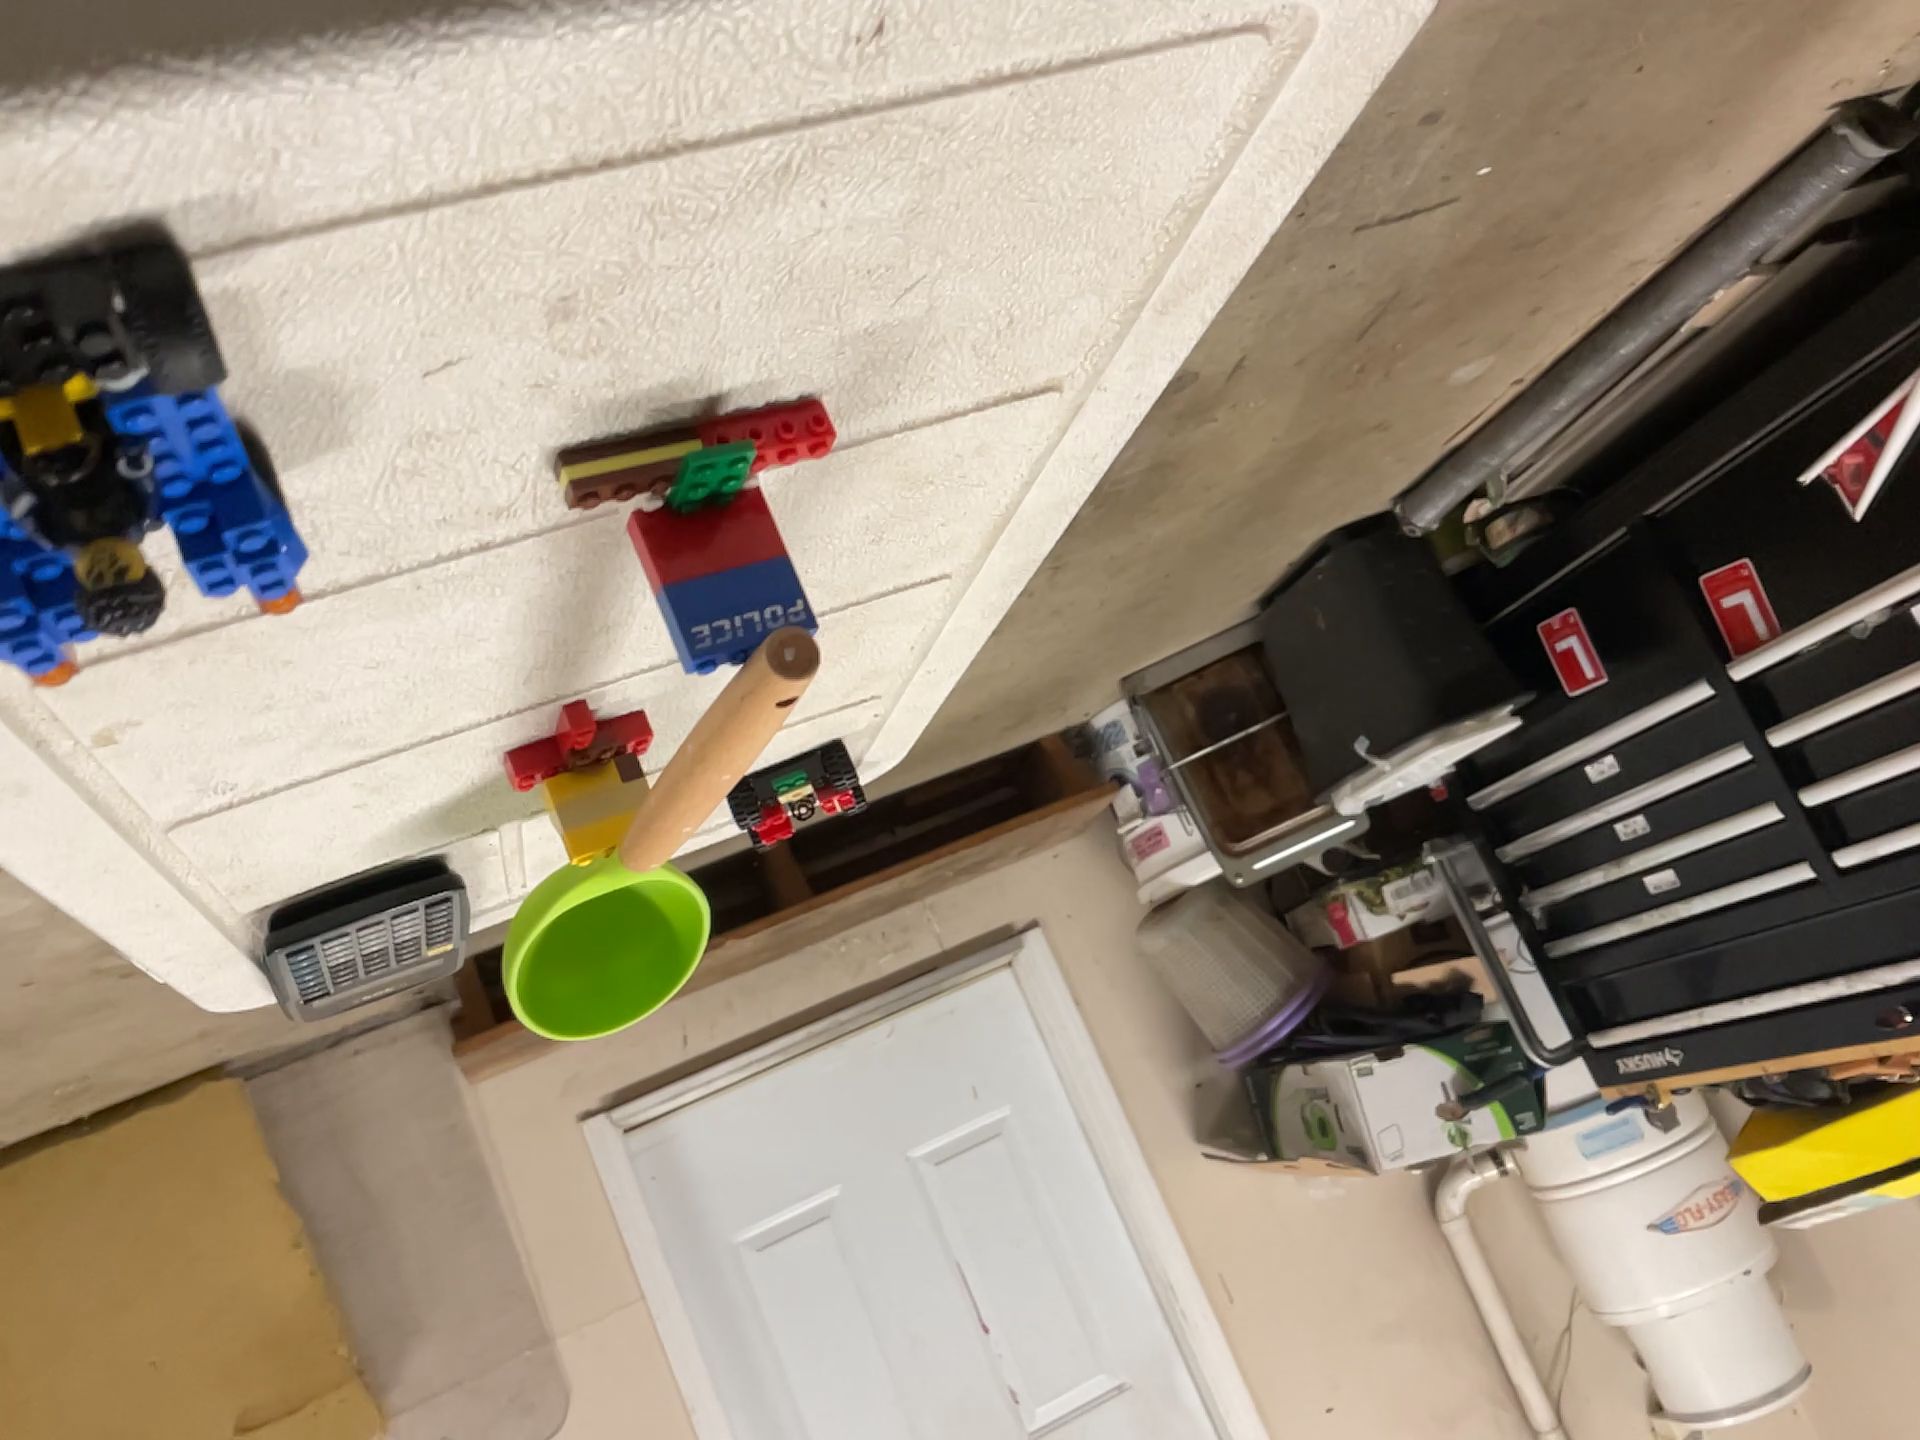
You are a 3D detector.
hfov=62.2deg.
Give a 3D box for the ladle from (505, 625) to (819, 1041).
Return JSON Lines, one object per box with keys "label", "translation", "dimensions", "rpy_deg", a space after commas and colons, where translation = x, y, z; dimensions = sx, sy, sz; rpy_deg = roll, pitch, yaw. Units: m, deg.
{"label": "ladle", "translation": [-0.089, 0.045, 0.487], "dimensions": [0.078, 0.062, 0.320], "rpy_deg": [-17, 169, -26]}
